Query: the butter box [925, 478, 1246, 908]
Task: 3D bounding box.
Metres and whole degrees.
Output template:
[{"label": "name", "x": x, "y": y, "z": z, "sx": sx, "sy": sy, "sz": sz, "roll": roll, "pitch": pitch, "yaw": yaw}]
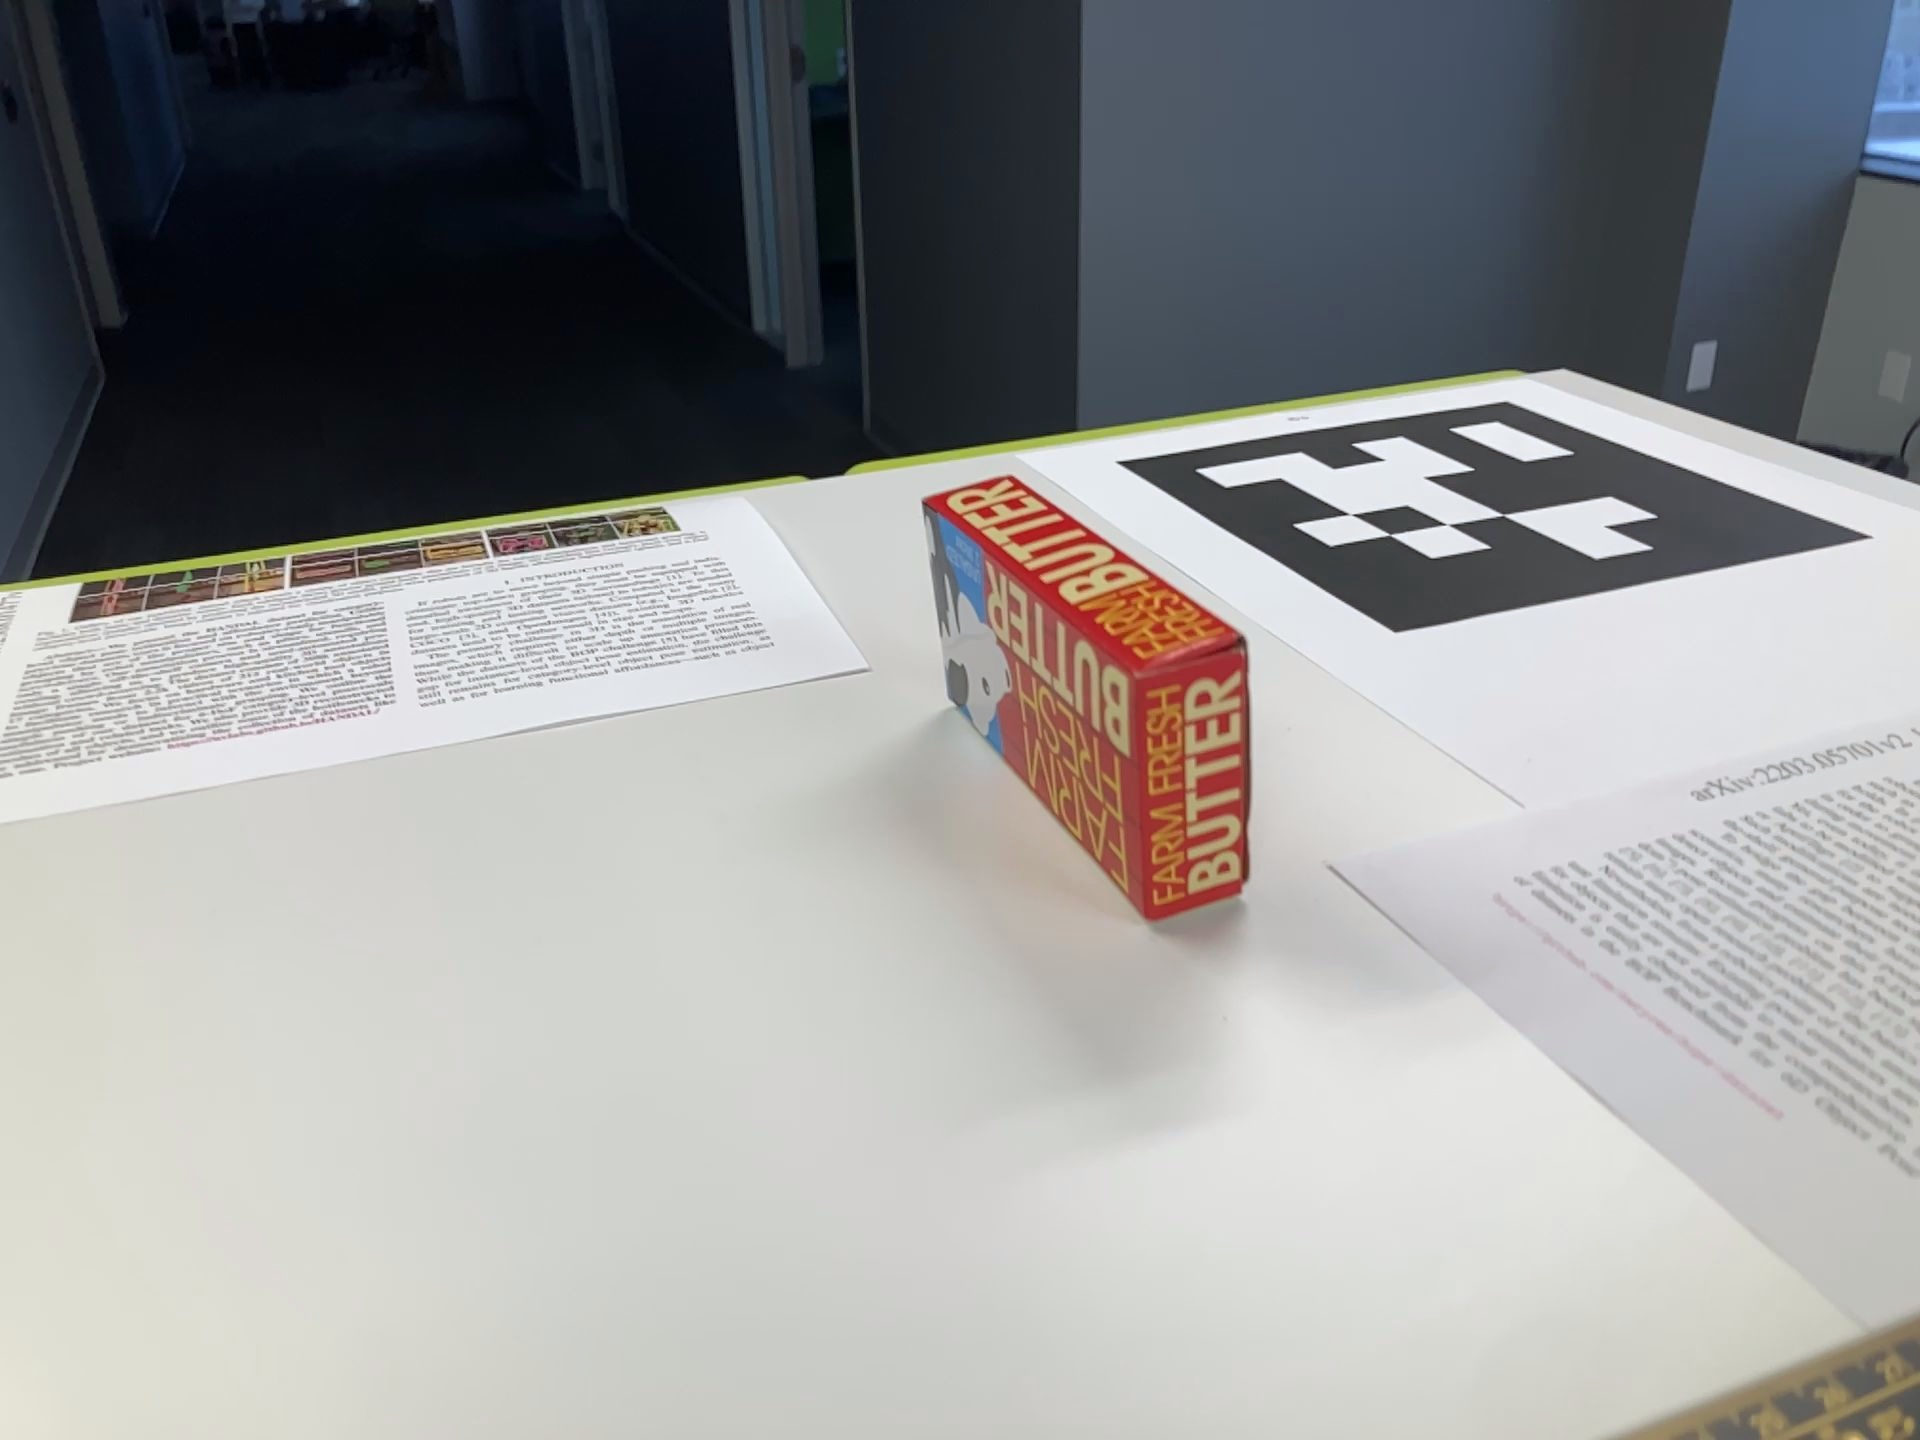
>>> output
[{"label": "butter box", "x": 0.023, "y": -0.010, "z": 0.327, "sx": 0.024, "sy": 0.053, "sz": 0.103, "roll": -16, "pitch": 29, "yaw": -16}]
